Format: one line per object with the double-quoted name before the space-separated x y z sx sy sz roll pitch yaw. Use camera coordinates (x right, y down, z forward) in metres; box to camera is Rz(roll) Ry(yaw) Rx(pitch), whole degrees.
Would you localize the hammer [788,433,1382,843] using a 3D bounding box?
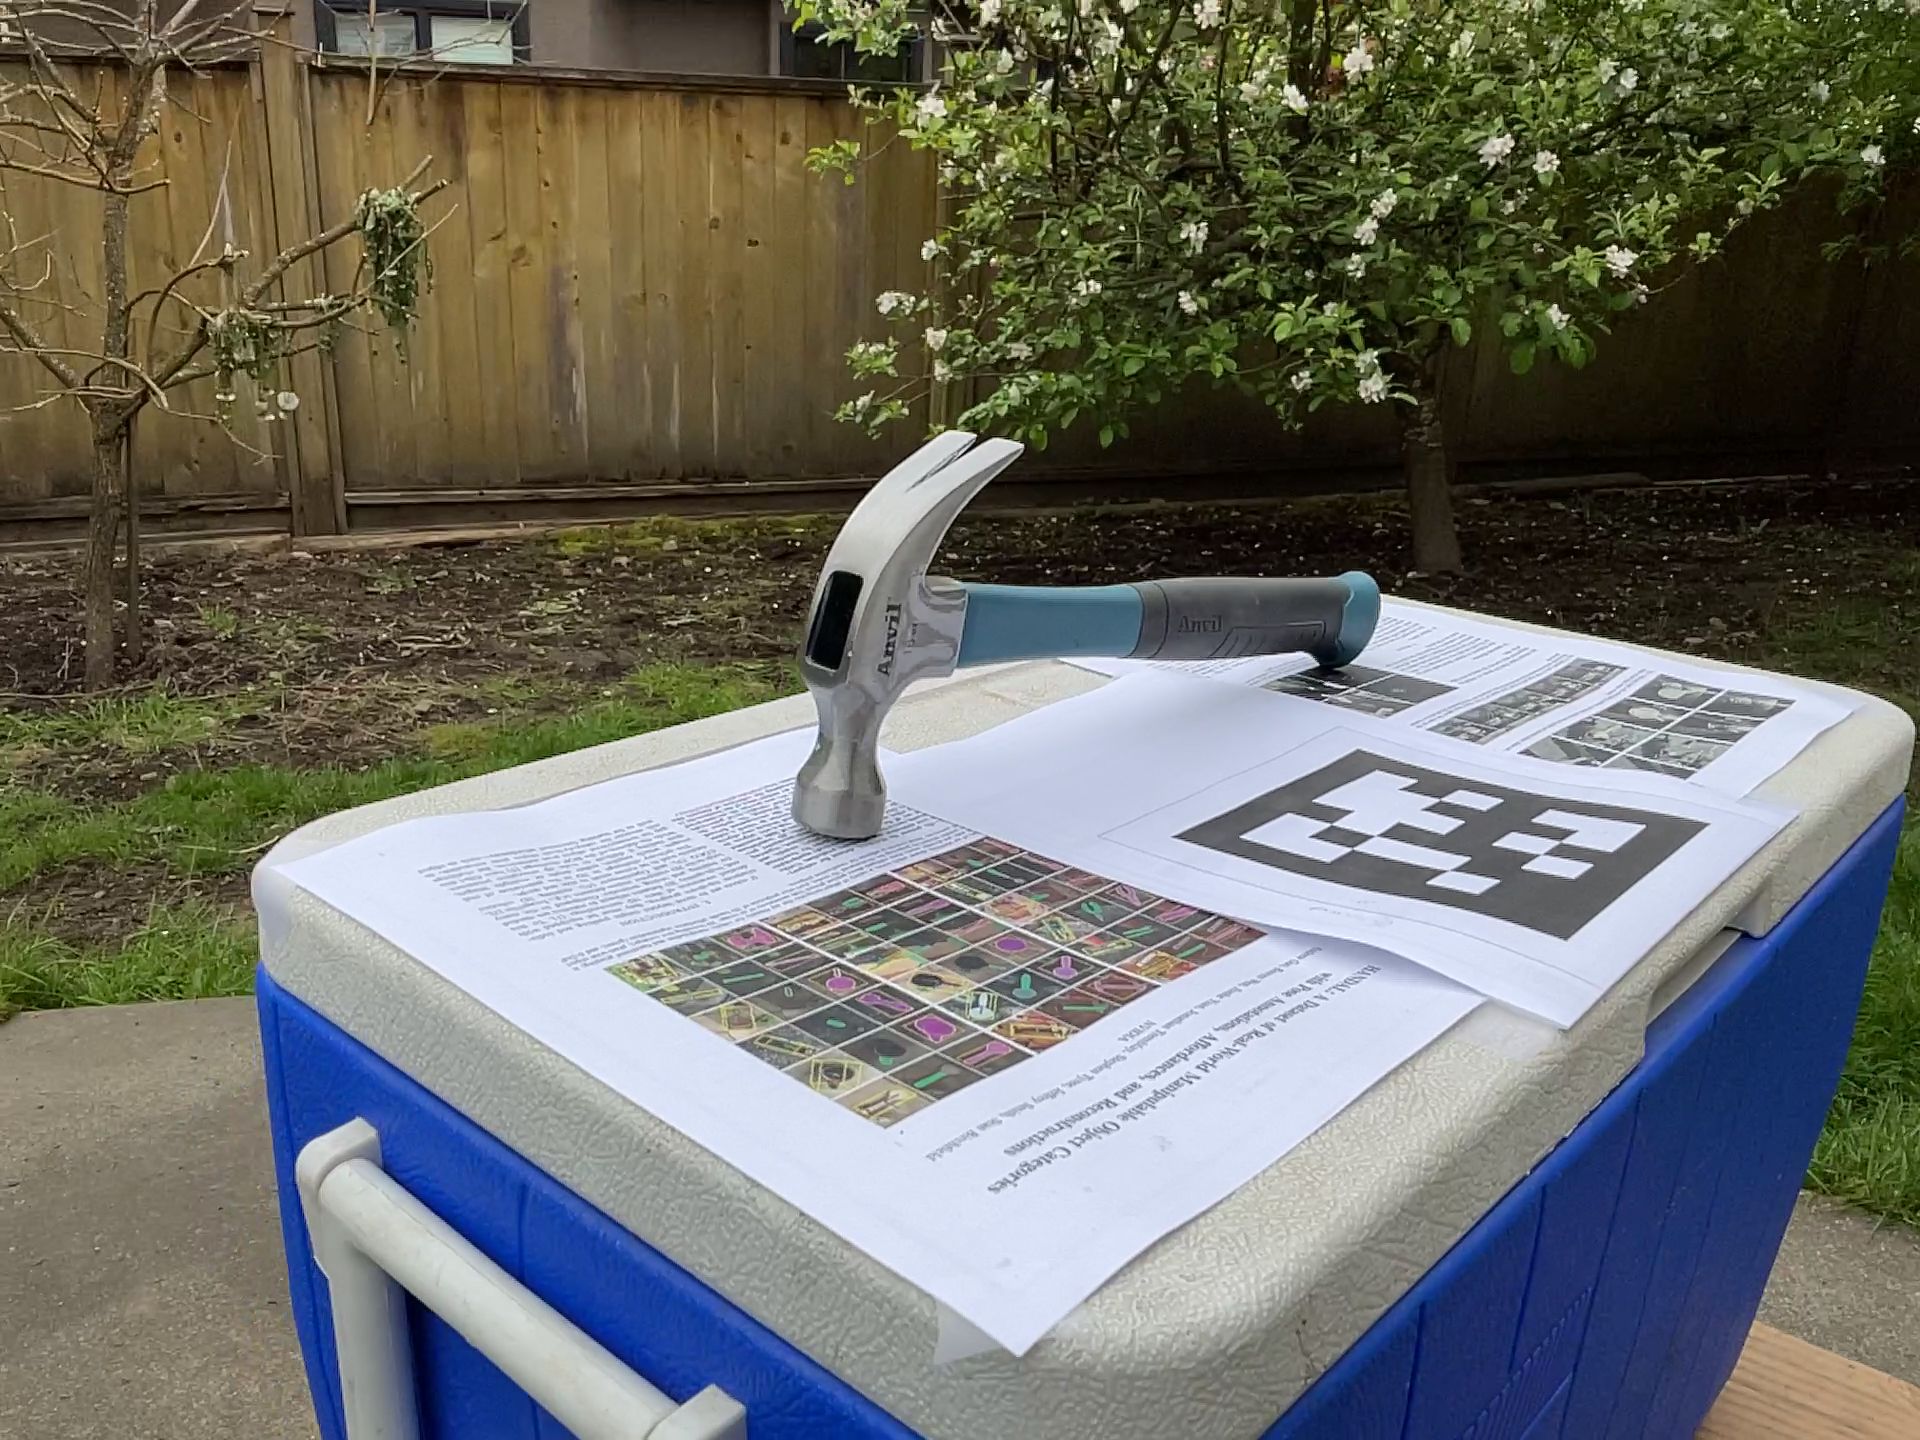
"hammer" 0.069 -0.035 0.603 0.033 0.128 0.331 20 16 39
